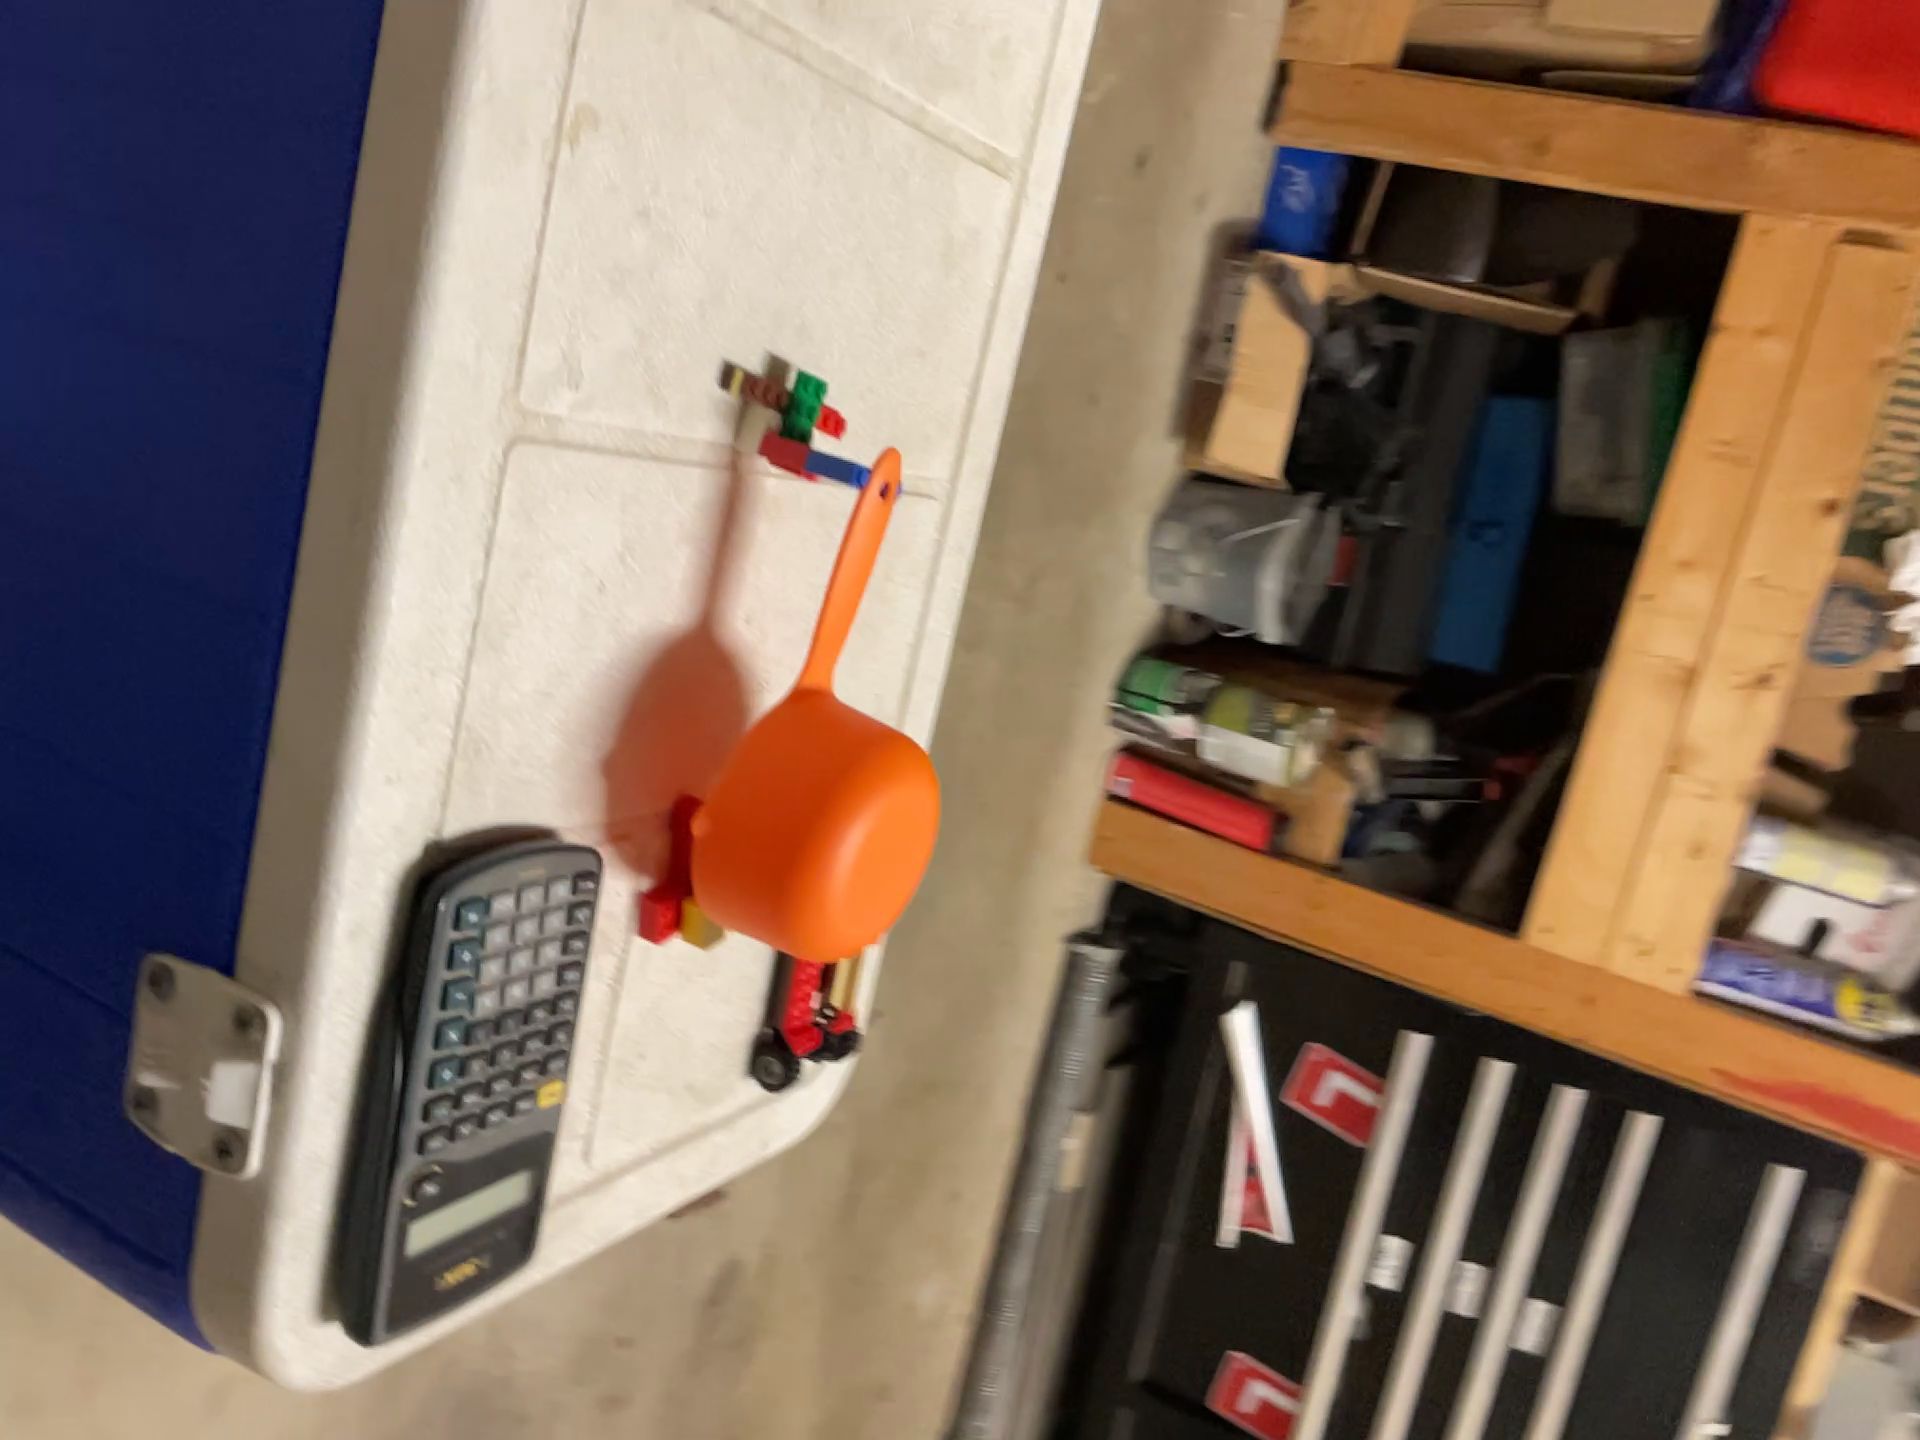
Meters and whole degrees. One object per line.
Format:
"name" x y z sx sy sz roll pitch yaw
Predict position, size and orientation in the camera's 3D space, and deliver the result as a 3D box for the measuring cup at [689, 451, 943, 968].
"measuring cup" -0.030 0.001 0.531 0.095 0.052 0.173 -4 116 -64
